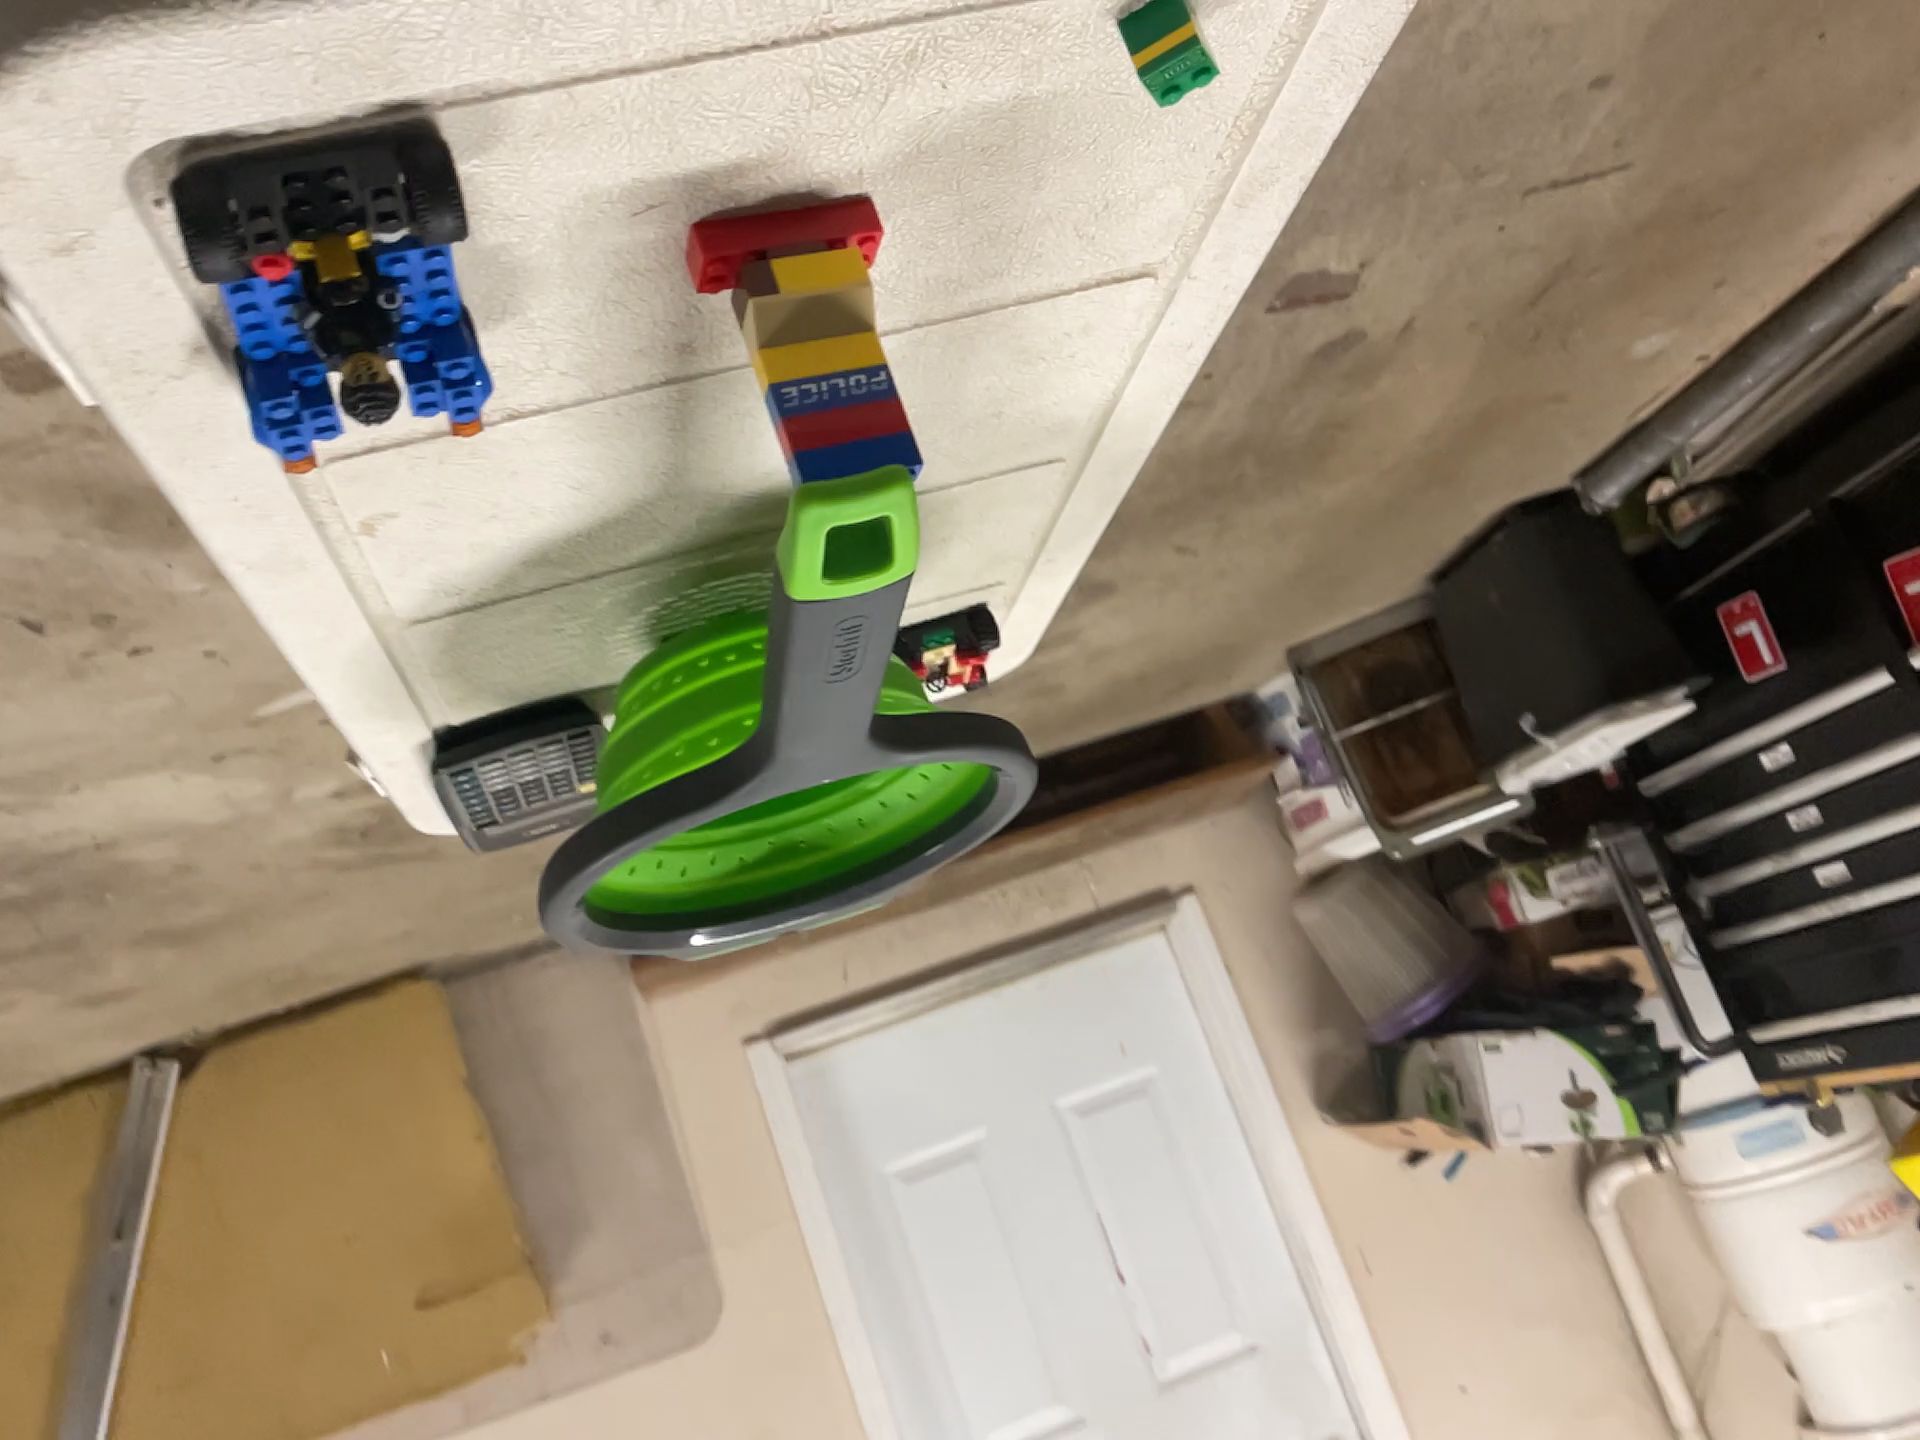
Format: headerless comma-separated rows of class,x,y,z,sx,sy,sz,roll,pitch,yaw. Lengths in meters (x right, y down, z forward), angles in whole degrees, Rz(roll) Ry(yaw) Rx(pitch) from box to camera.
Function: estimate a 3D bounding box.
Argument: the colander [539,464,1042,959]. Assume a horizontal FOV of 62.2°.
colander,-0.064,-0.013,0.578,0.205,0.094,0.396,-13,161,-15
